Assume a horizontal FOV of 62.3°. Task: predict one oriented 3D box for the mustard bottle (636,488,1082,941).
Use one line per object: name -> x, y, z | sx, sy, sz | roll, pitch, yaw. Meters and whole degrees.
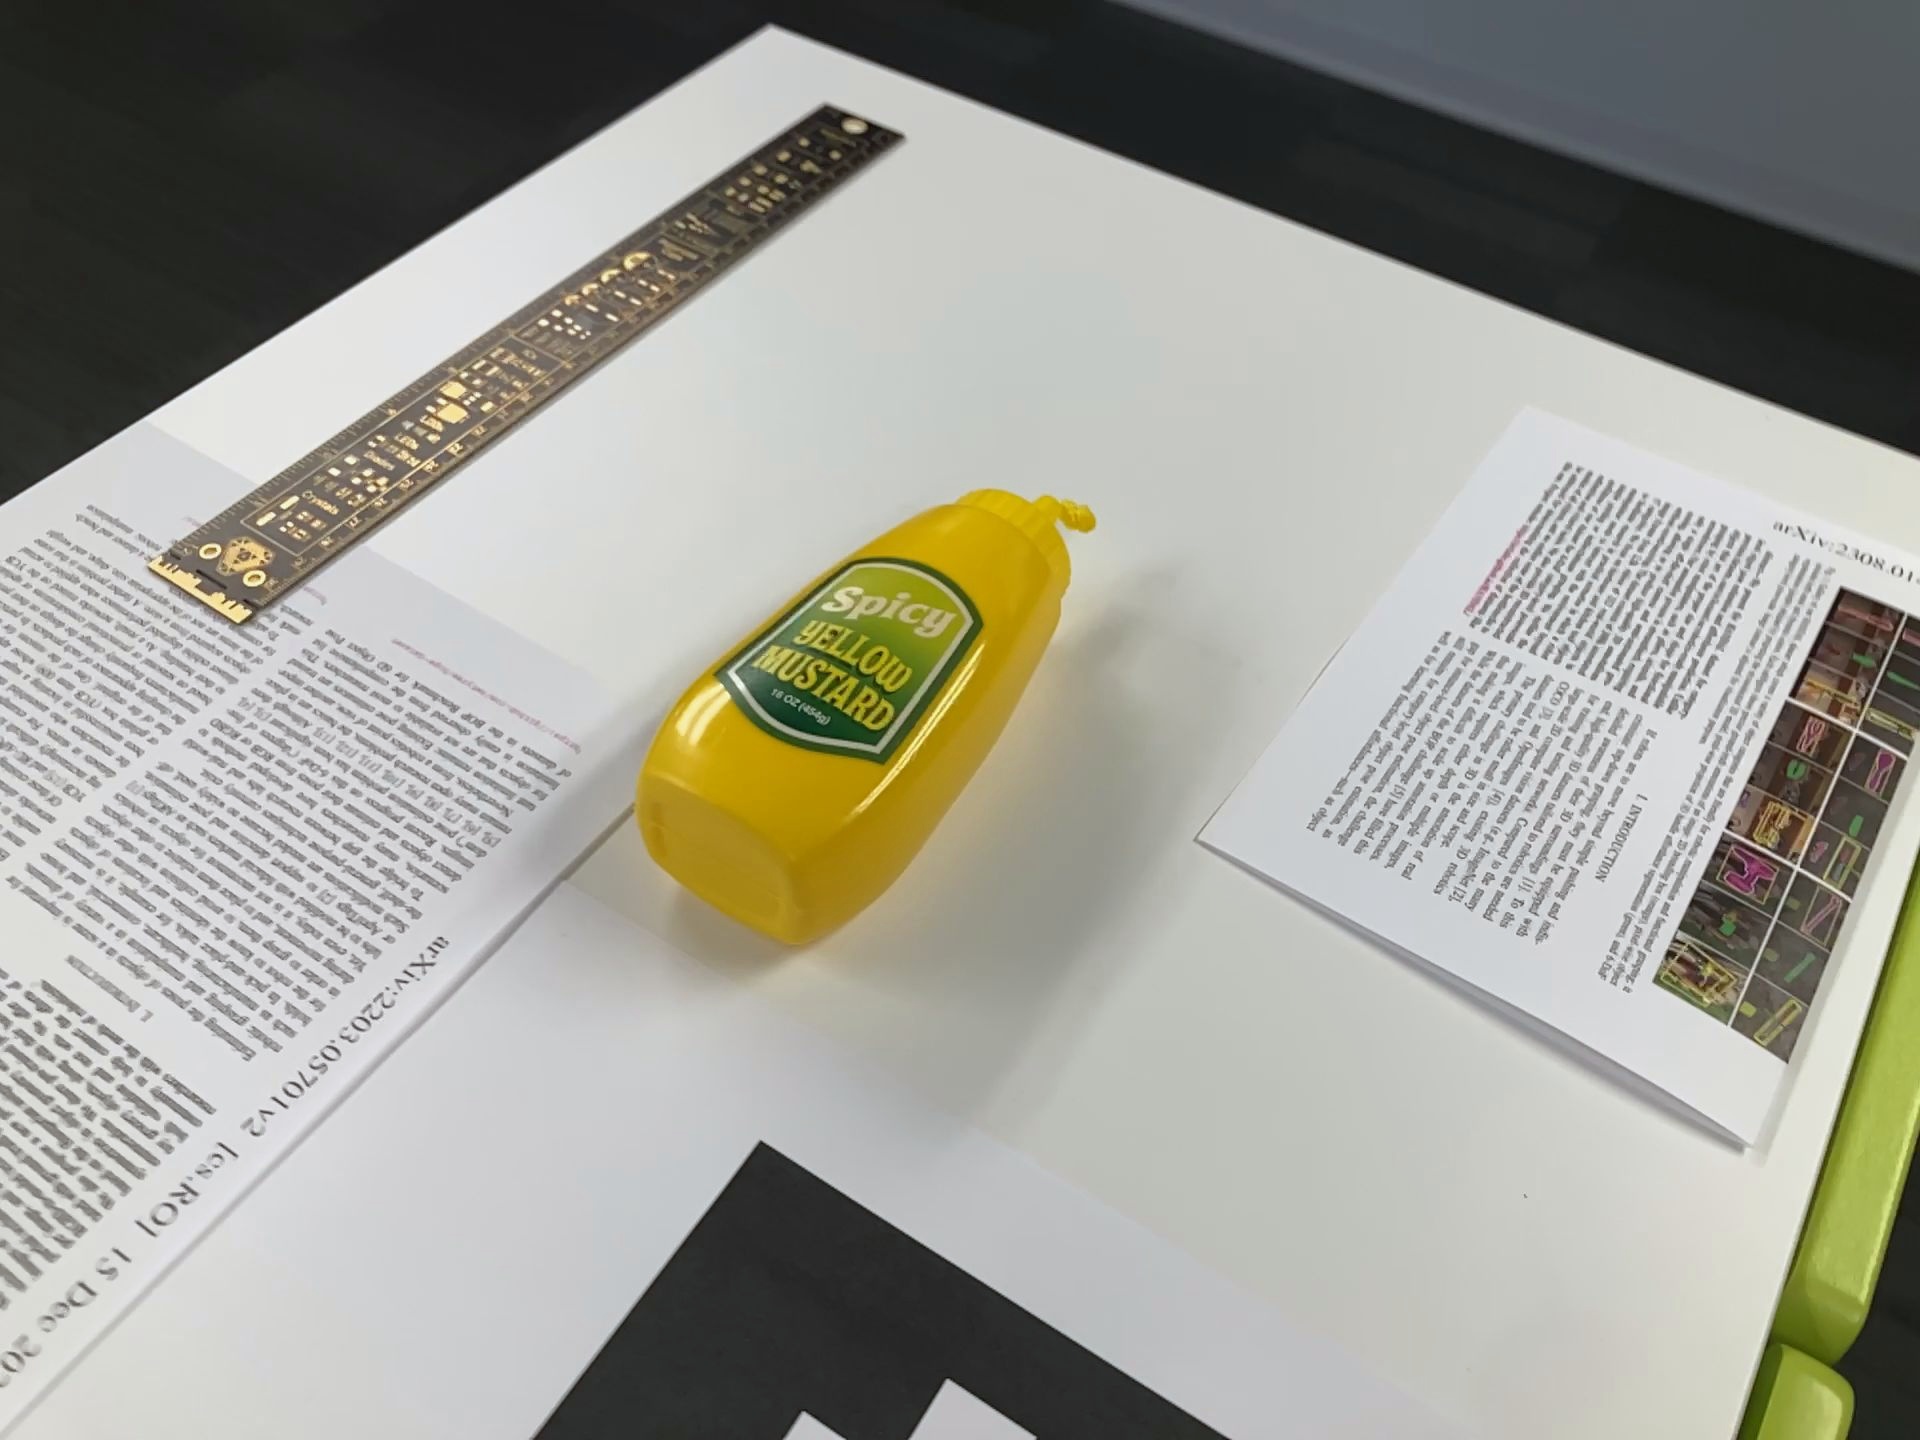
mustard bottle -> -0.013, -0.018, 0.405 | 0.065, 0.049, 0.160 | 28, 53, 17
